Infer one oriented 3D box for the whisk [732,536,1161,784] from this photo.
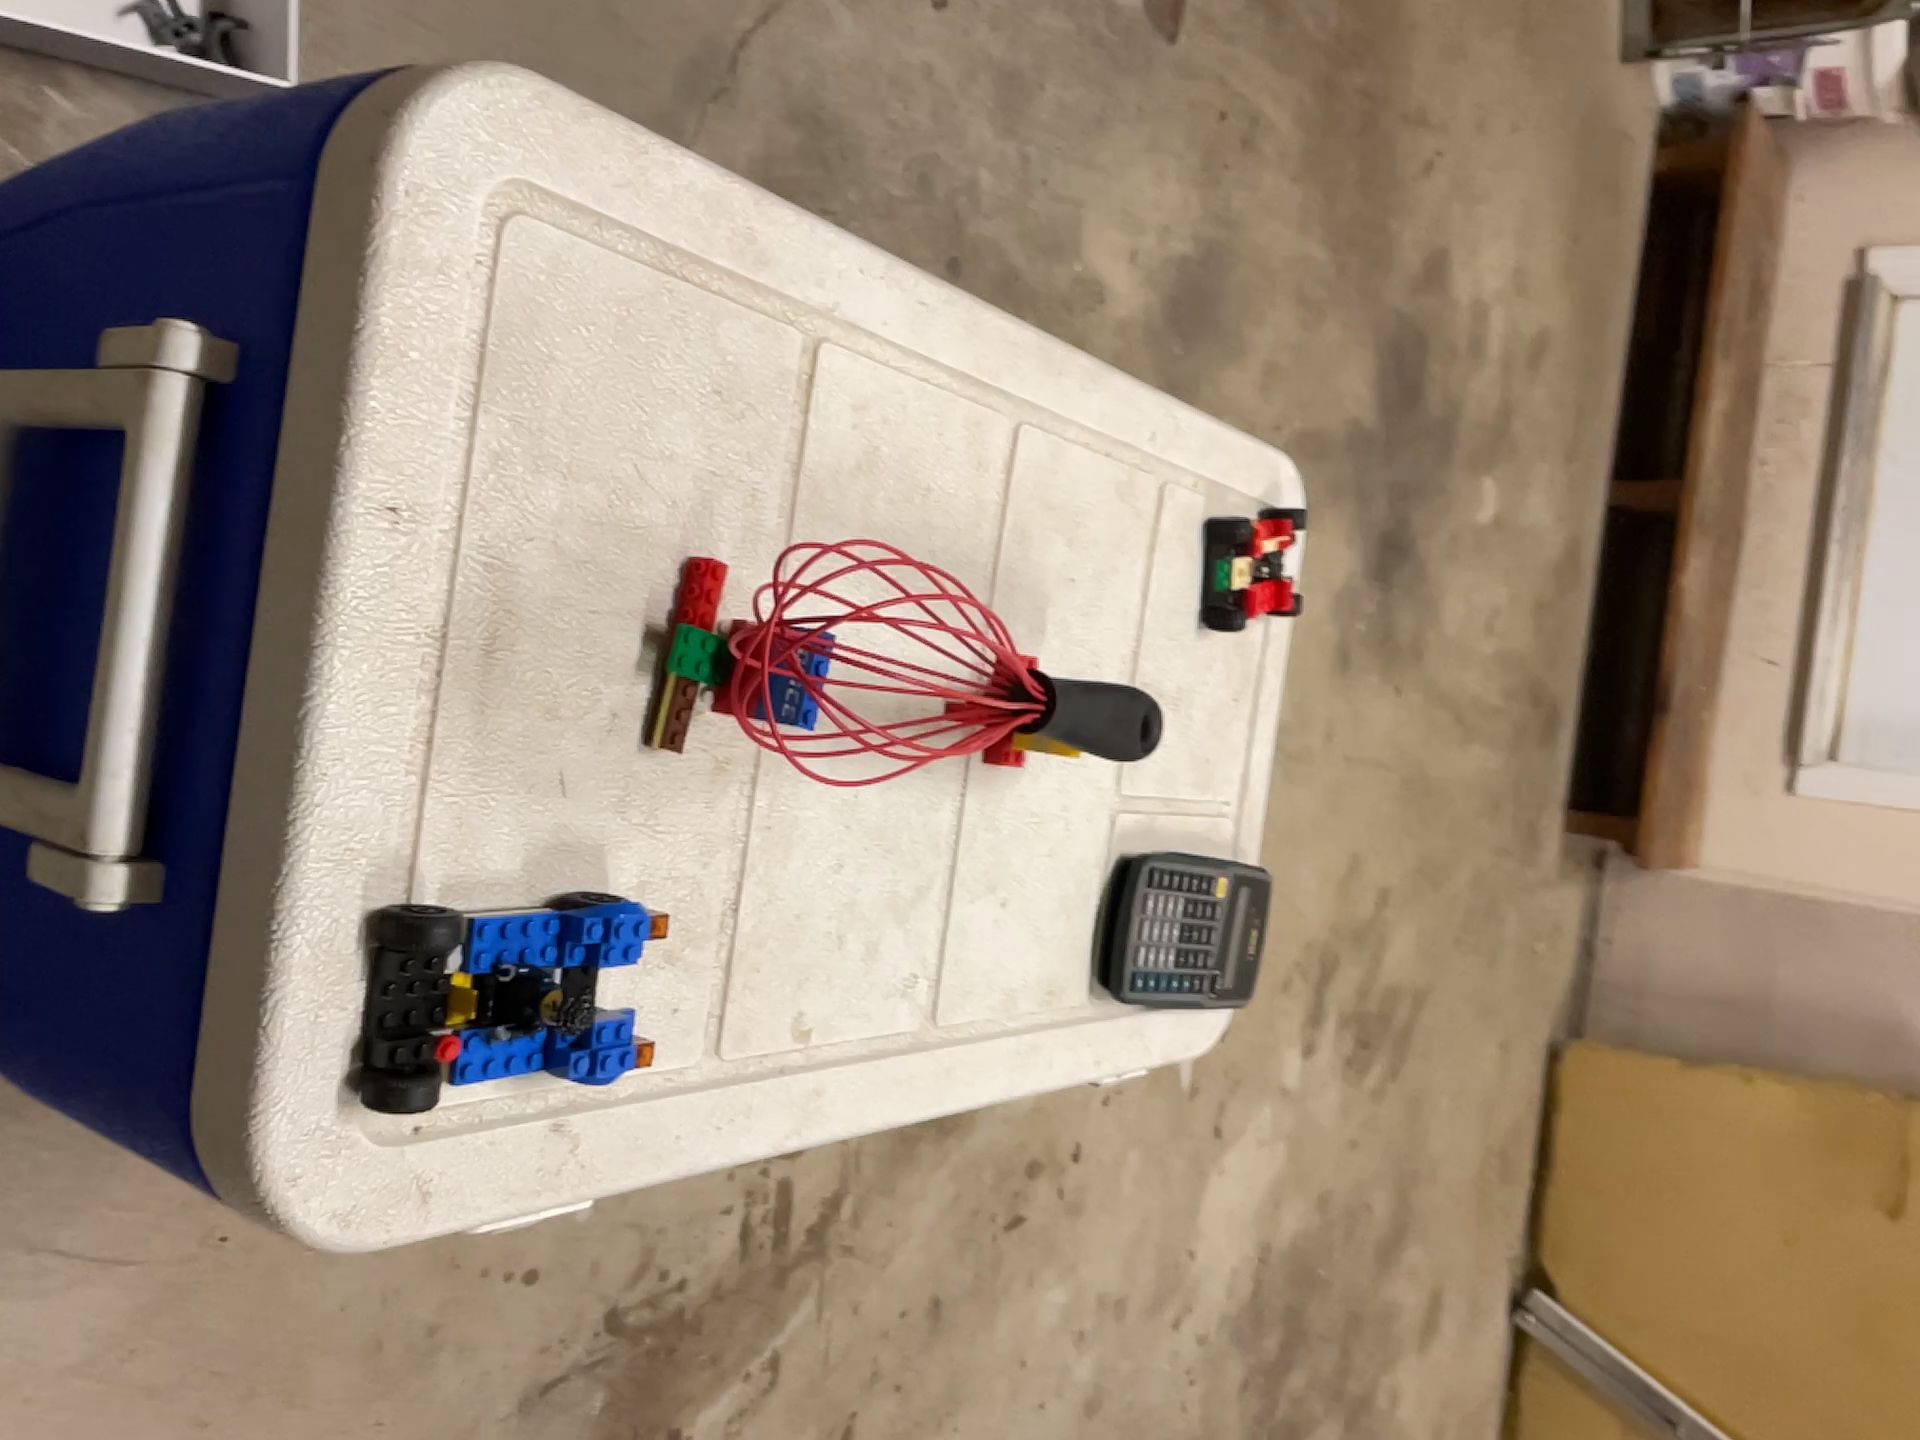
[{"bbox_3d":[0.015,-0.009,0.549,0.296,0.073,0.073,11,85,-64],"label":"whisk"}]
